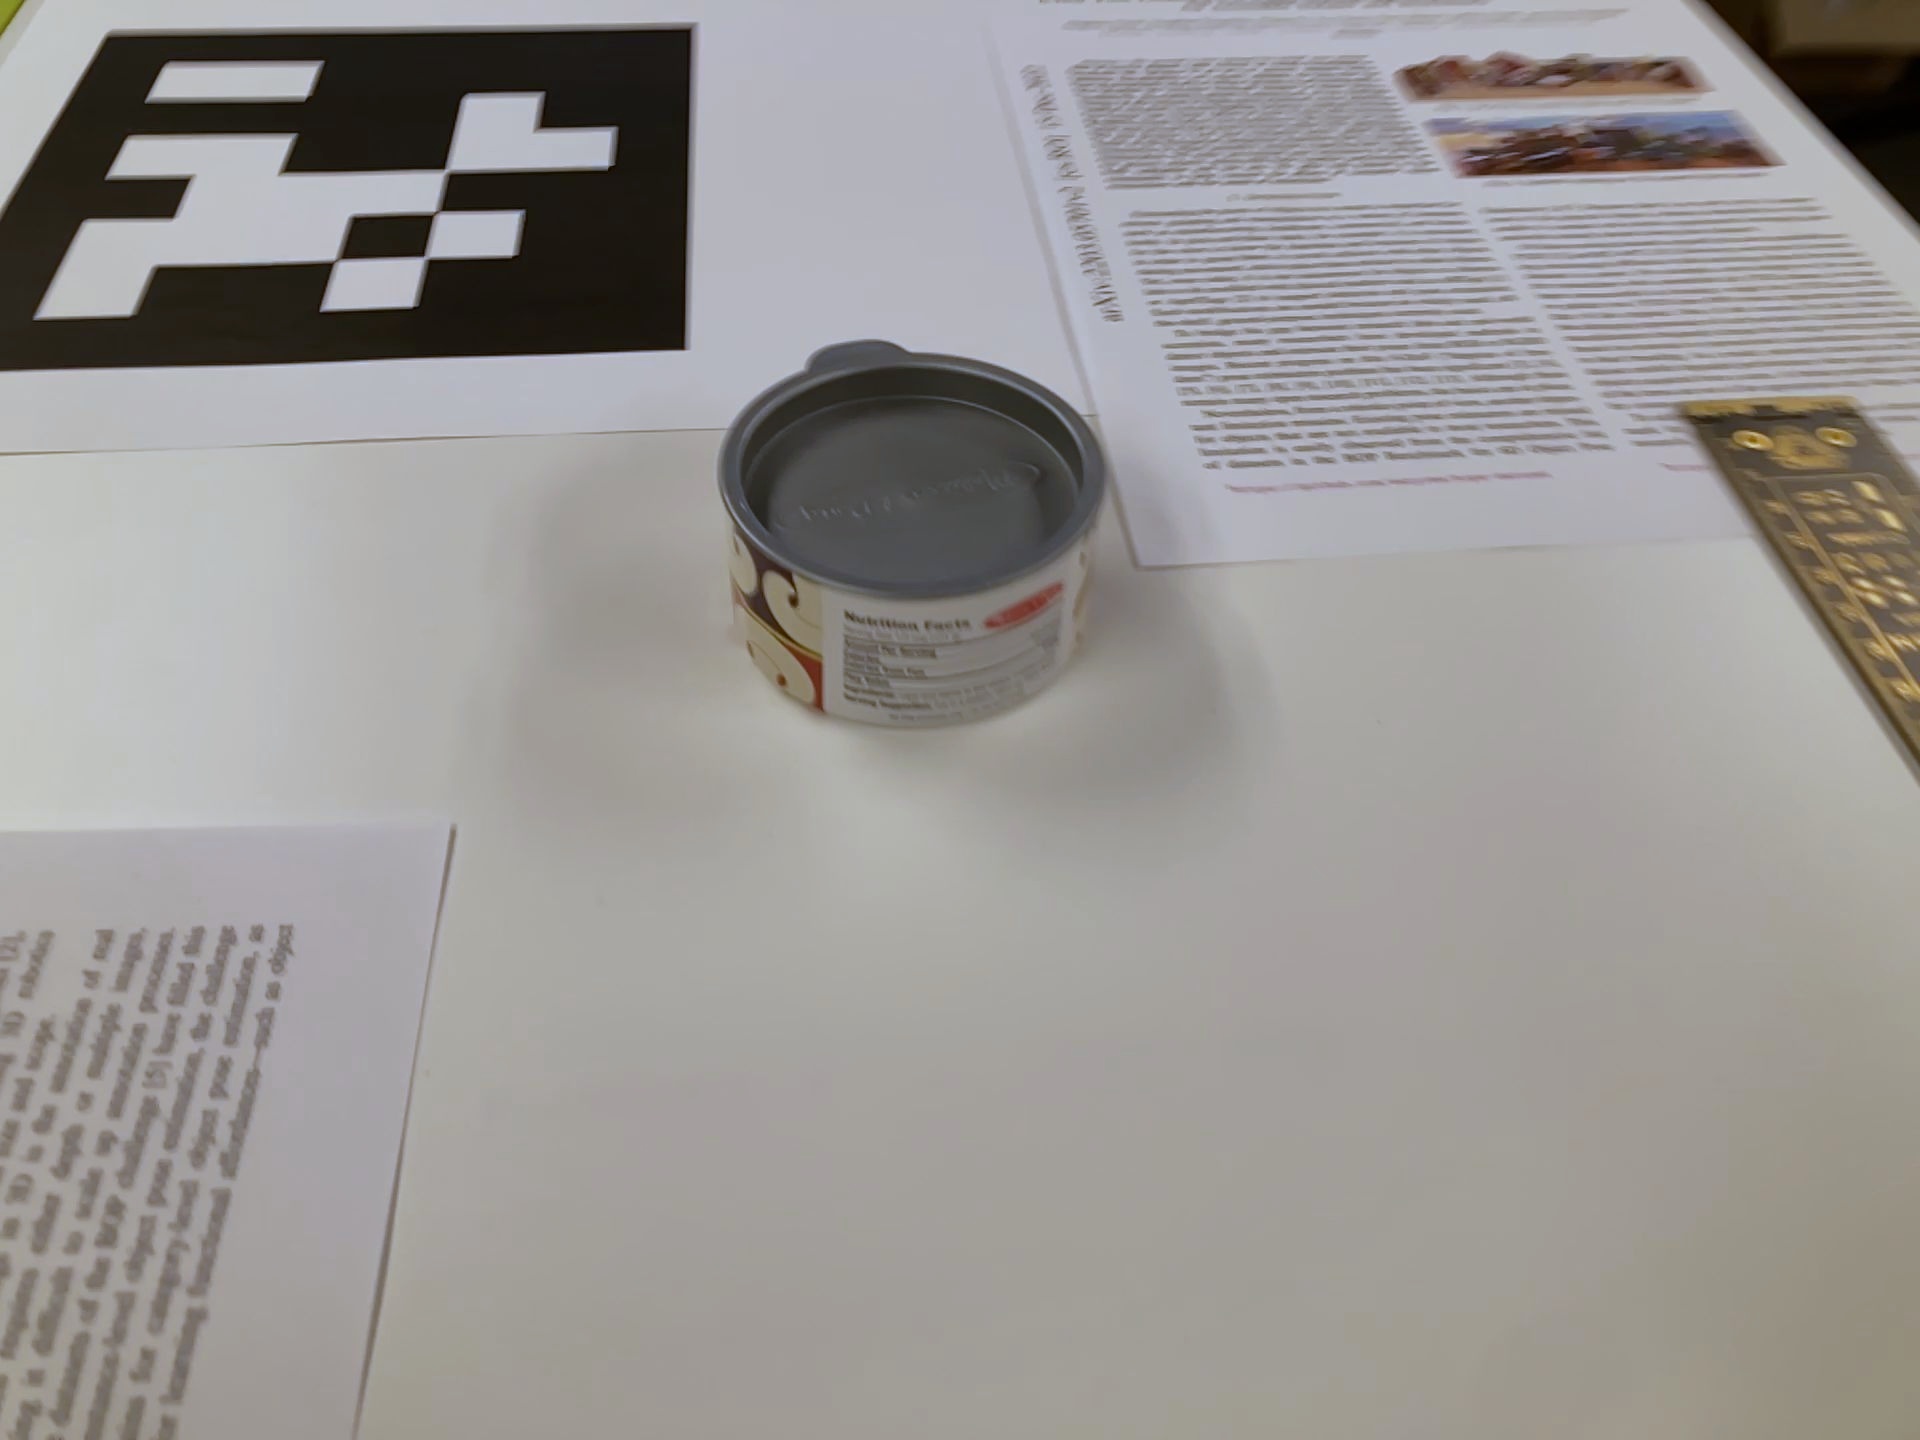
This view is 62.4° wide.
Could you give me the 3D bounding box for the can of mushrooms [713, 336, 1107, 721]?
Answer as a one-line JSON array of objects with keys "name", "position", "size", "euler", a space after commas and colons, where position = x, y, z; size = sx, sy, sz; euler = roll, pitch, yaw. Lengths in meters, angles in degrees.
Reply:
[{"name": "can of mushrooms", "position": [-0.009, -0.035, 0.281], "size": [0.071, 0.033, 0.071], "euler": [1, 47, -1]}]
